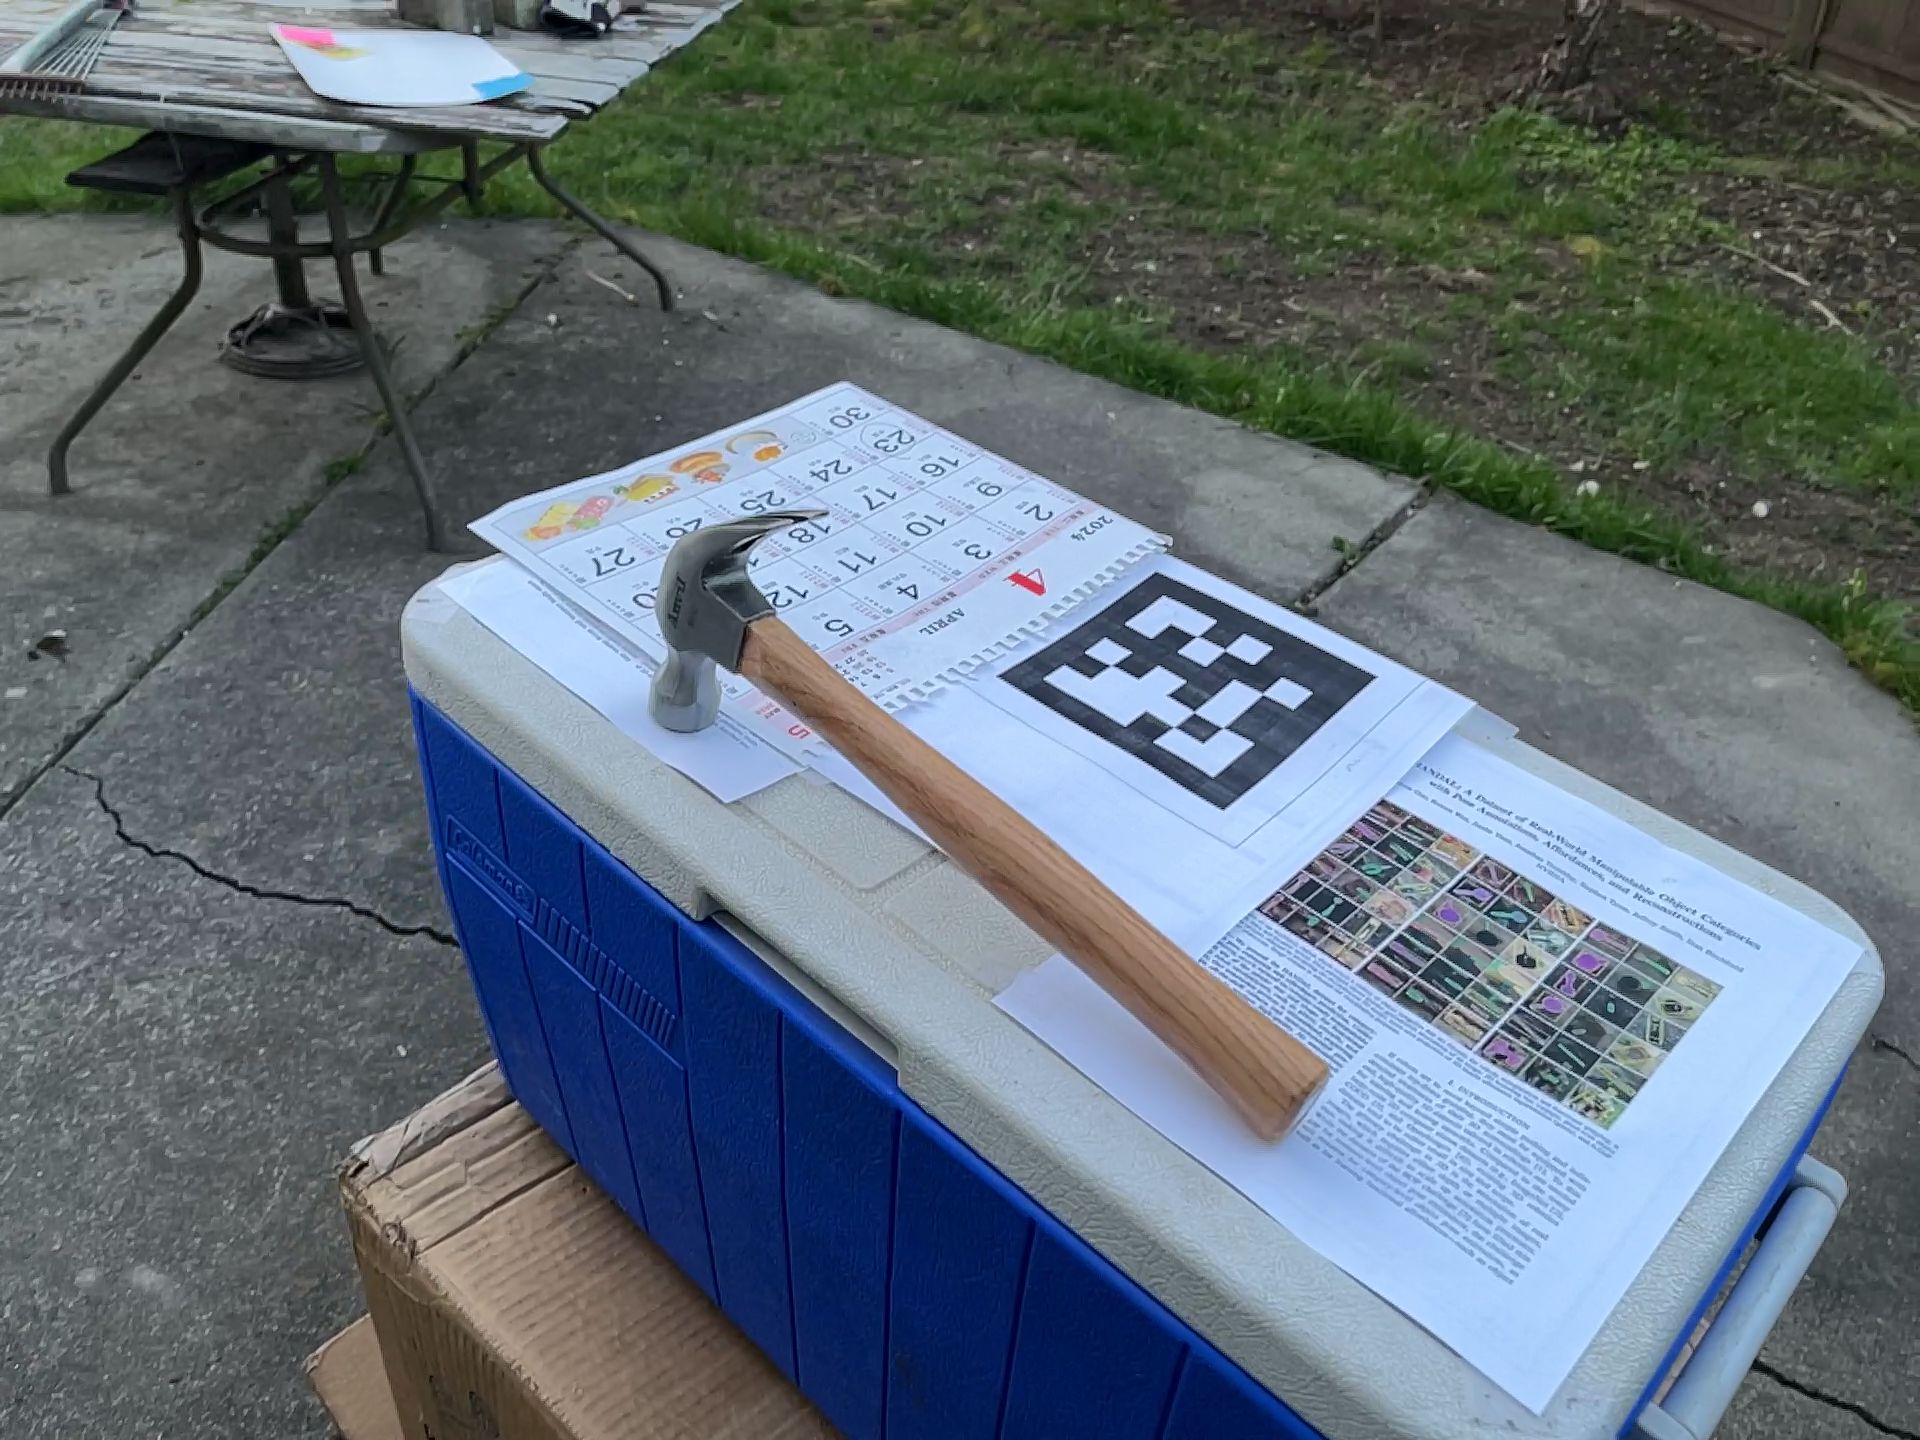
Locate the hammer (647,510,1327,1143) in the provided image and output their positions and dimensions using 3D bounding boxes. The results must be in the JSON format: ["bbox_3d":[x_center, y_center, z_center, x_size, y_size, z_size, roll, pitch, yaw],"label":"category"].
[{"bbox_3d":[-0.002,0.033,0.581,0.331,0.130,0.031,39,42,24],"label":"hammer"}]
